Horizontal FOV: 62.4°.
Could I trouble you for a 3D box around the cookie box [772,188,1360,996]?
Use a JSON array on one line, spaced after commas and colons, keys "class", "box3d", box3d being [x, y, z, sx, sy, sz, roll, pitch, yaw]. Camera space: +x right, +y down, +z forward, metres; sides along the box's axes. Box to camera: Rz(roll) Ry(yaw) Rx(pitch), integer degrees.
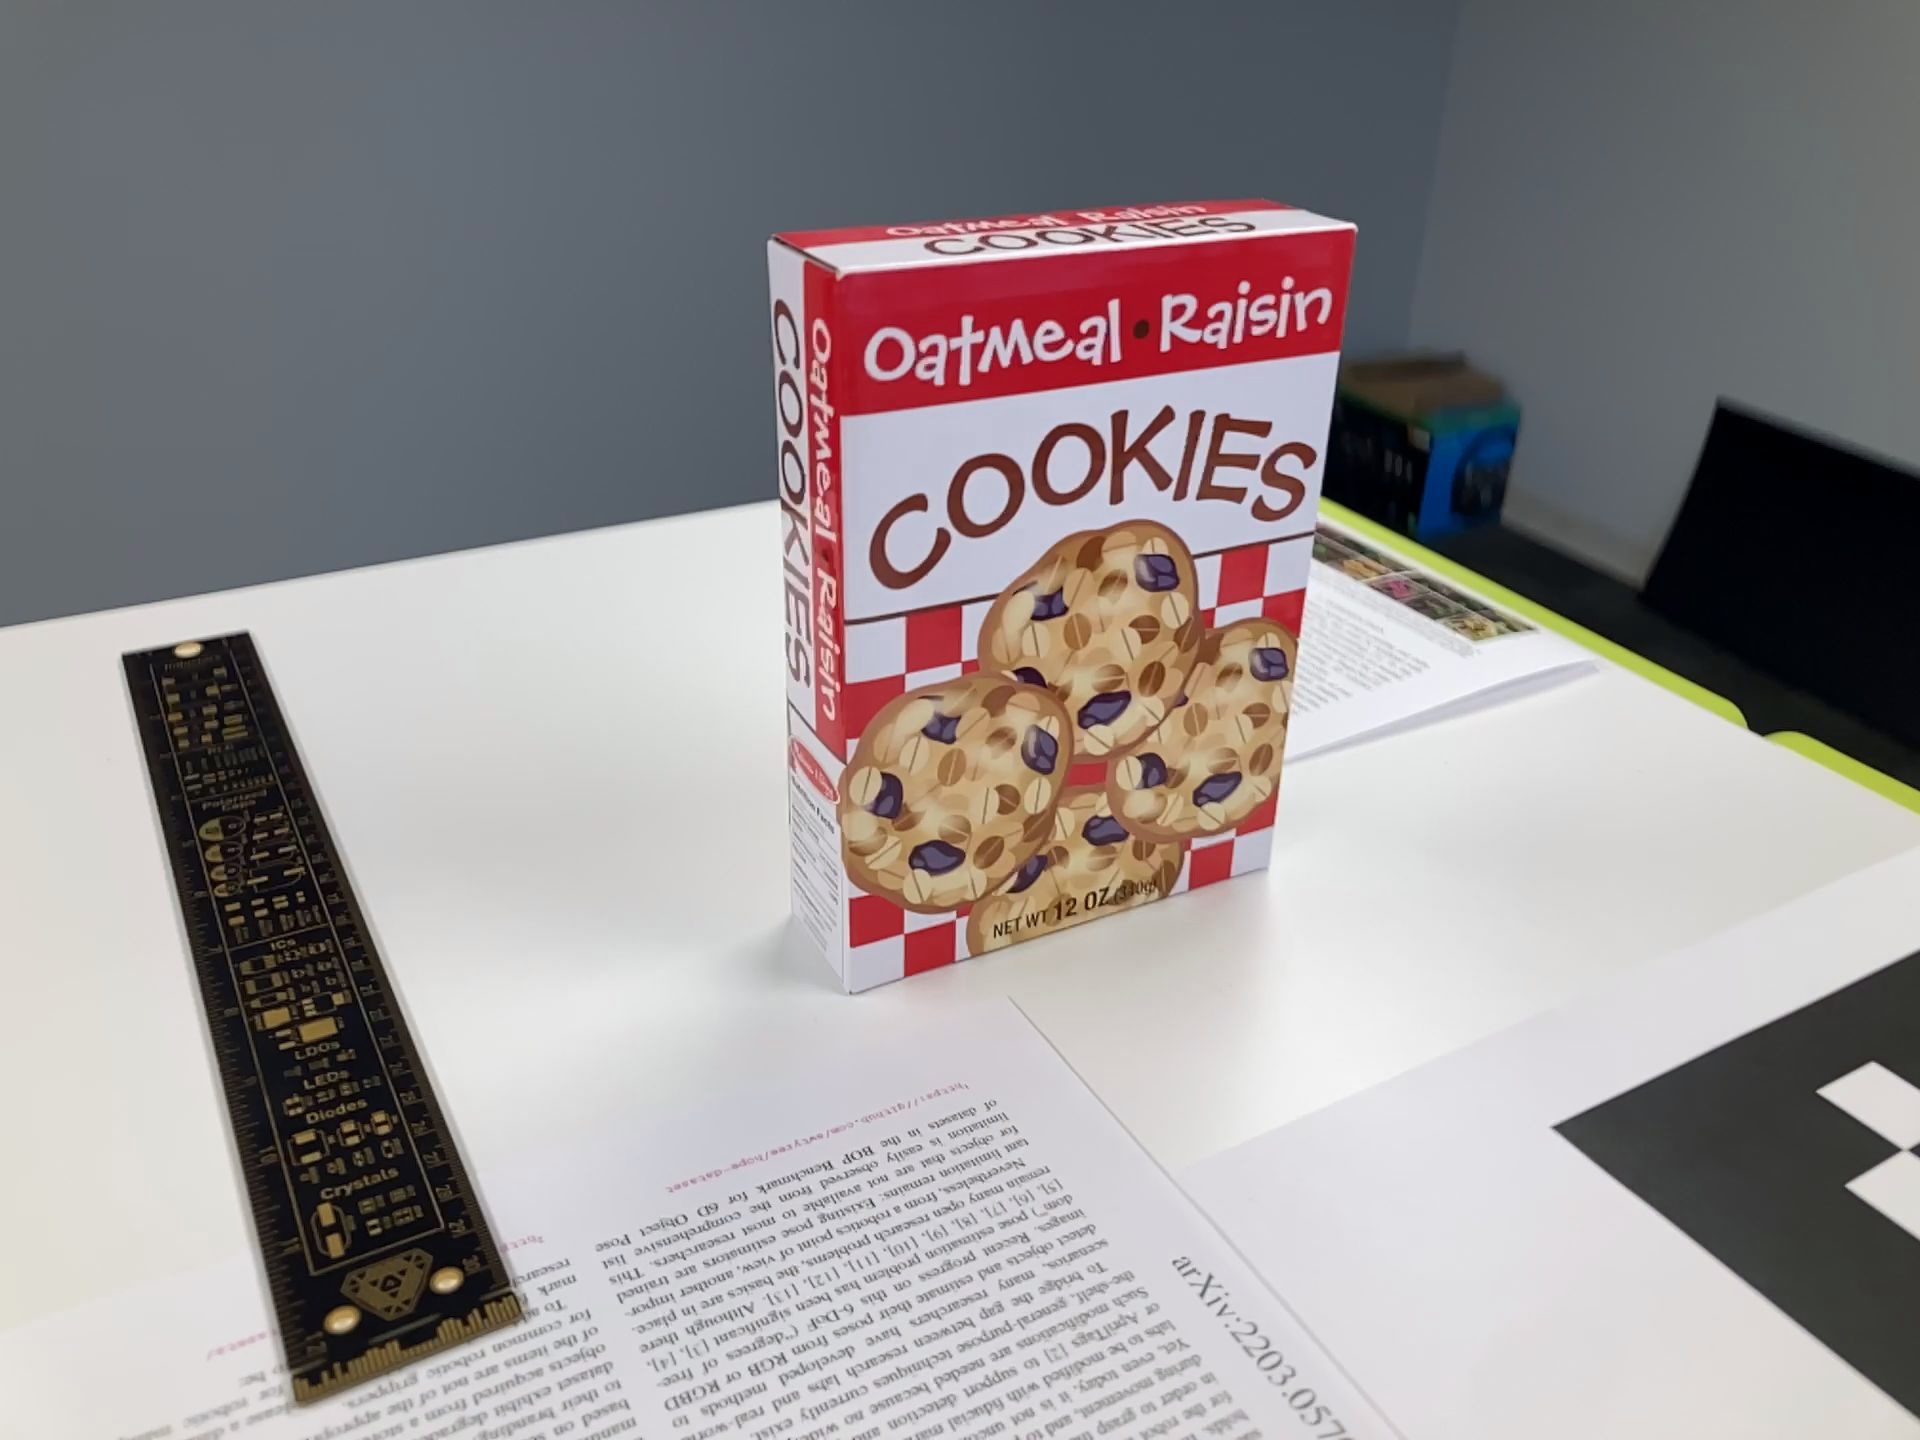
[{"class": "cookie box", "box3d": [0.022, -0.030, 0.367, 0.123, 0.167, 0.040, -13, 31, -25]}]
